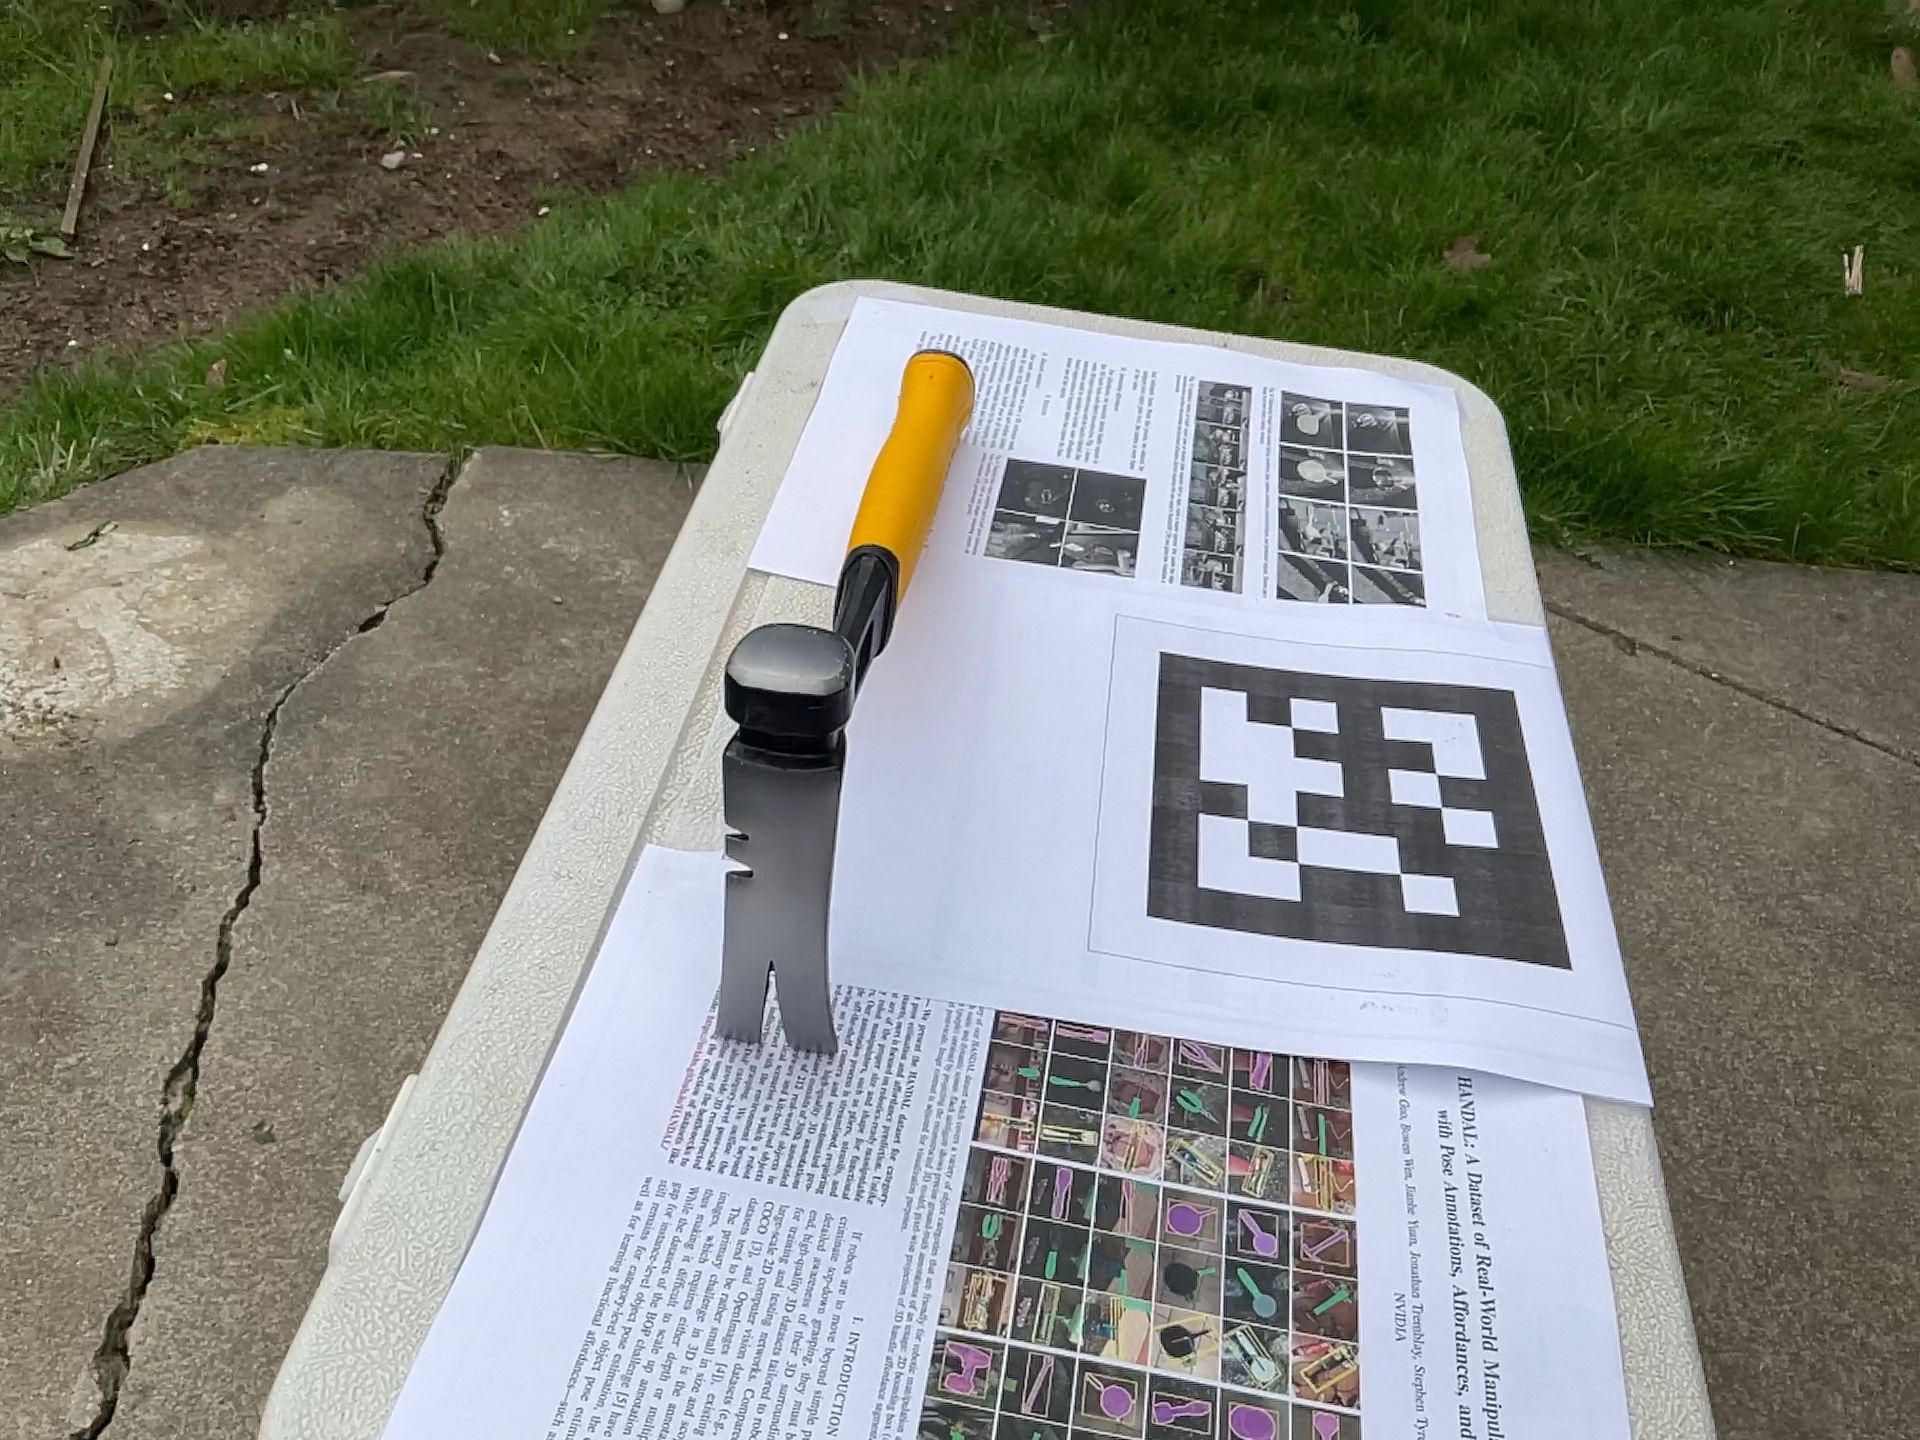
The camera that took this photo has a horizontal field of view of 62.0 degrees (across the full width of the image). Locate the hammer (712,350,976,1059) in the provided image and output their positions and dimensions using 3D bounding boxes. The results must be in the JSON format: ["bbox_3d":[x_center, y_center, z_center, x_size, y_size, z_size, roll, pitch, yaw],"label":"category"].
[{"bbox_3d":[-0.028,-0.043,0.538,0.034,0.127,0.337,8,32,2],"label":"hammer"}]
